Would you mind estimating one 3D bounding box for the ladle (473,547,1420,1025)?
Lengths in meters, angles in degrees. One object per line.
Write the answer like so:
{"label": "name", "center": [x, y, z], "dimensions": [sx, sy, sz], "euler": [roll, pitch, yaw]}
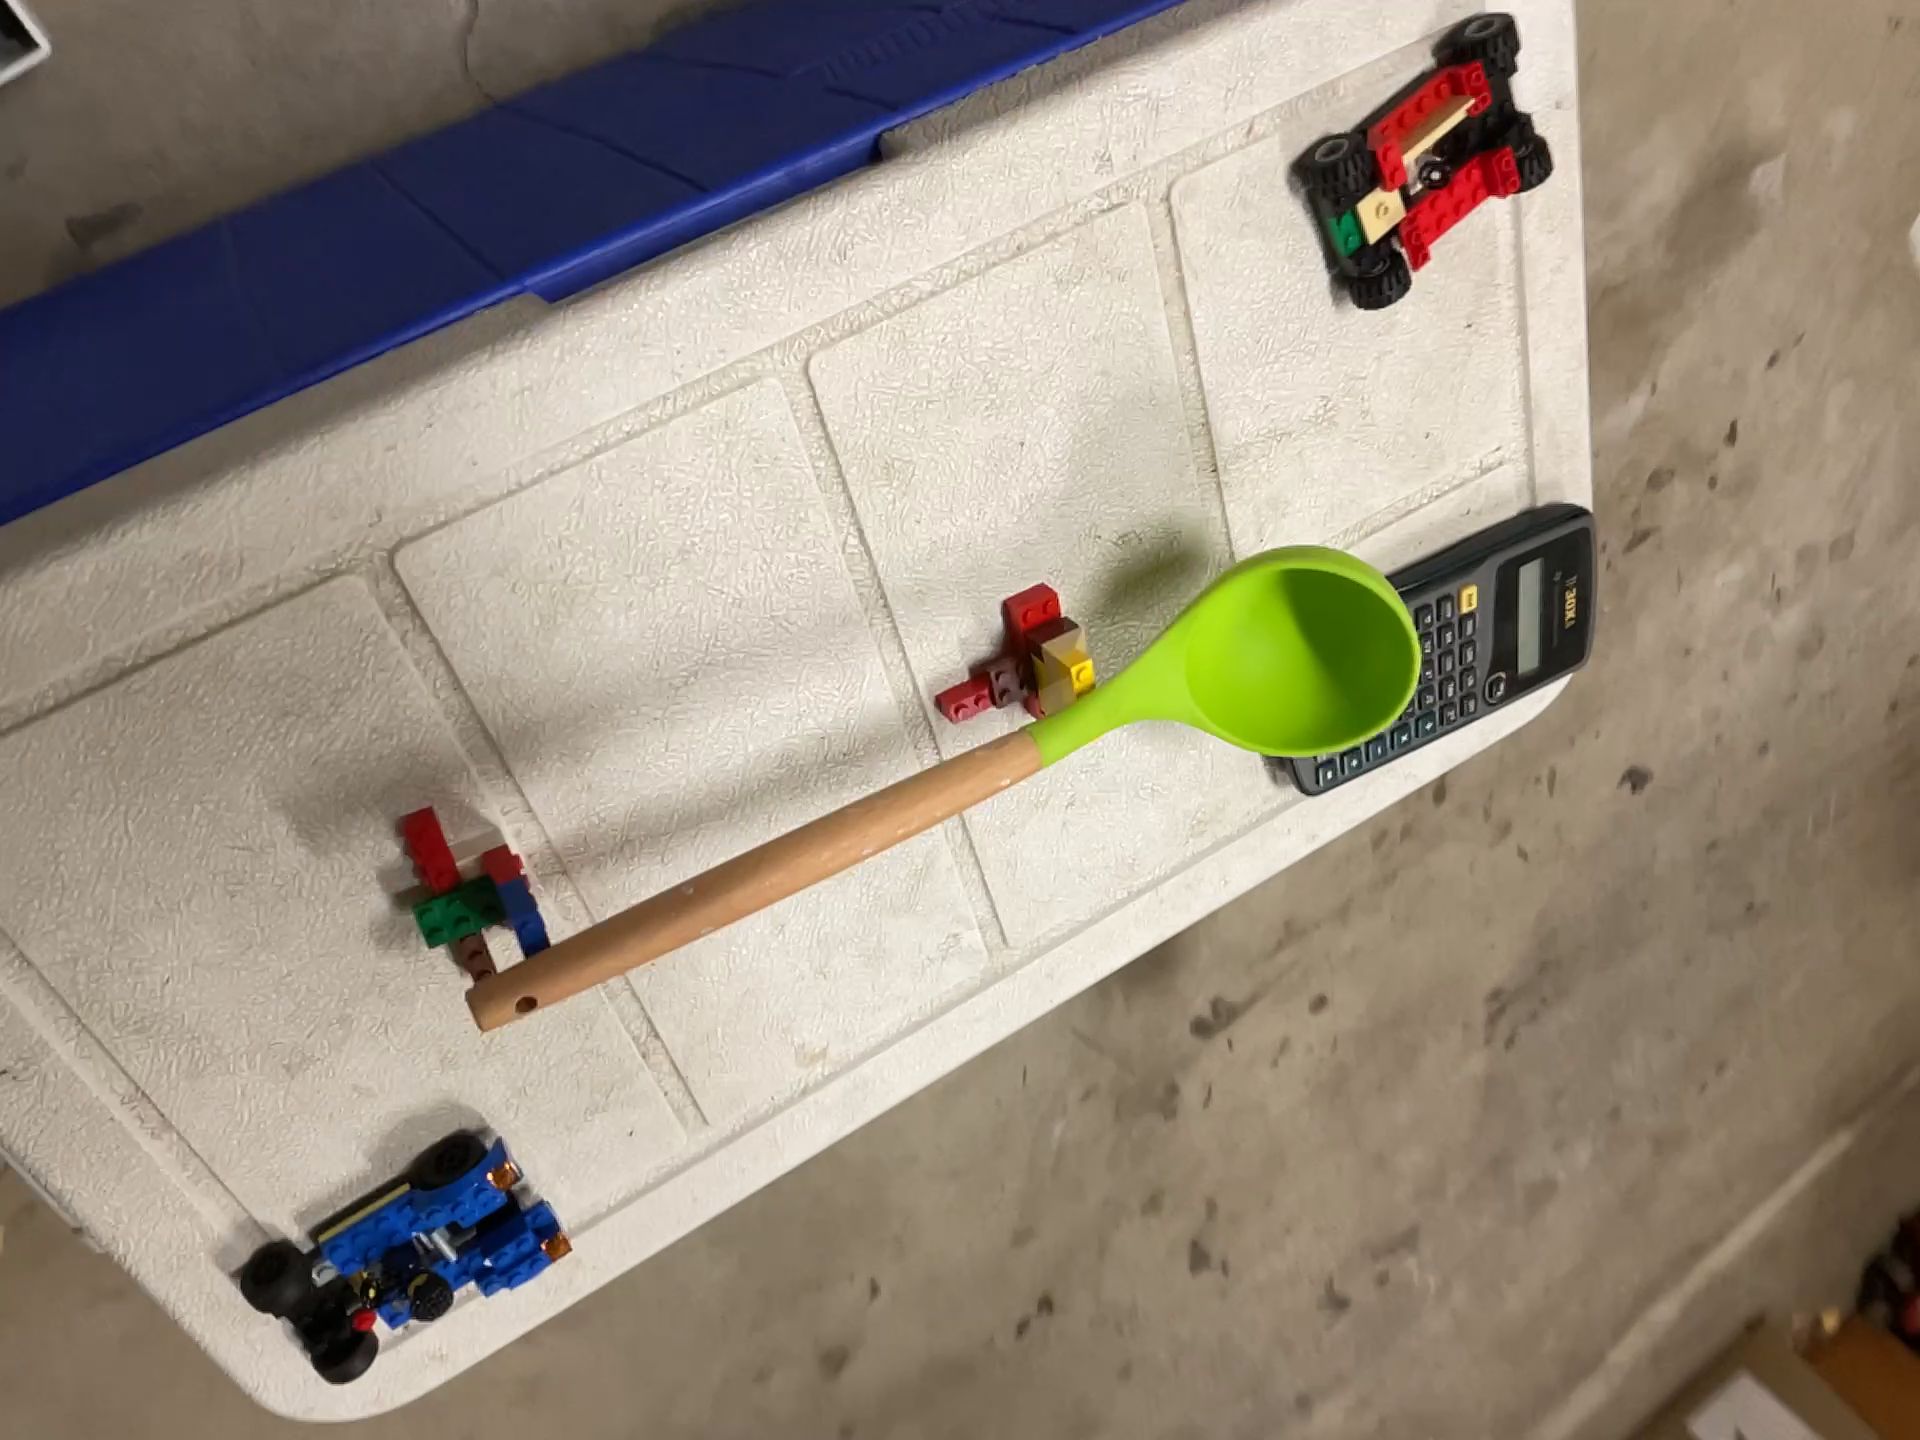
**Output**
{"label": "ladle", "center": [0.007, 0.025, 0.497], "dimensions": [0.320, 0.062, 0.078], "euler": [-24, 126, -20]}
